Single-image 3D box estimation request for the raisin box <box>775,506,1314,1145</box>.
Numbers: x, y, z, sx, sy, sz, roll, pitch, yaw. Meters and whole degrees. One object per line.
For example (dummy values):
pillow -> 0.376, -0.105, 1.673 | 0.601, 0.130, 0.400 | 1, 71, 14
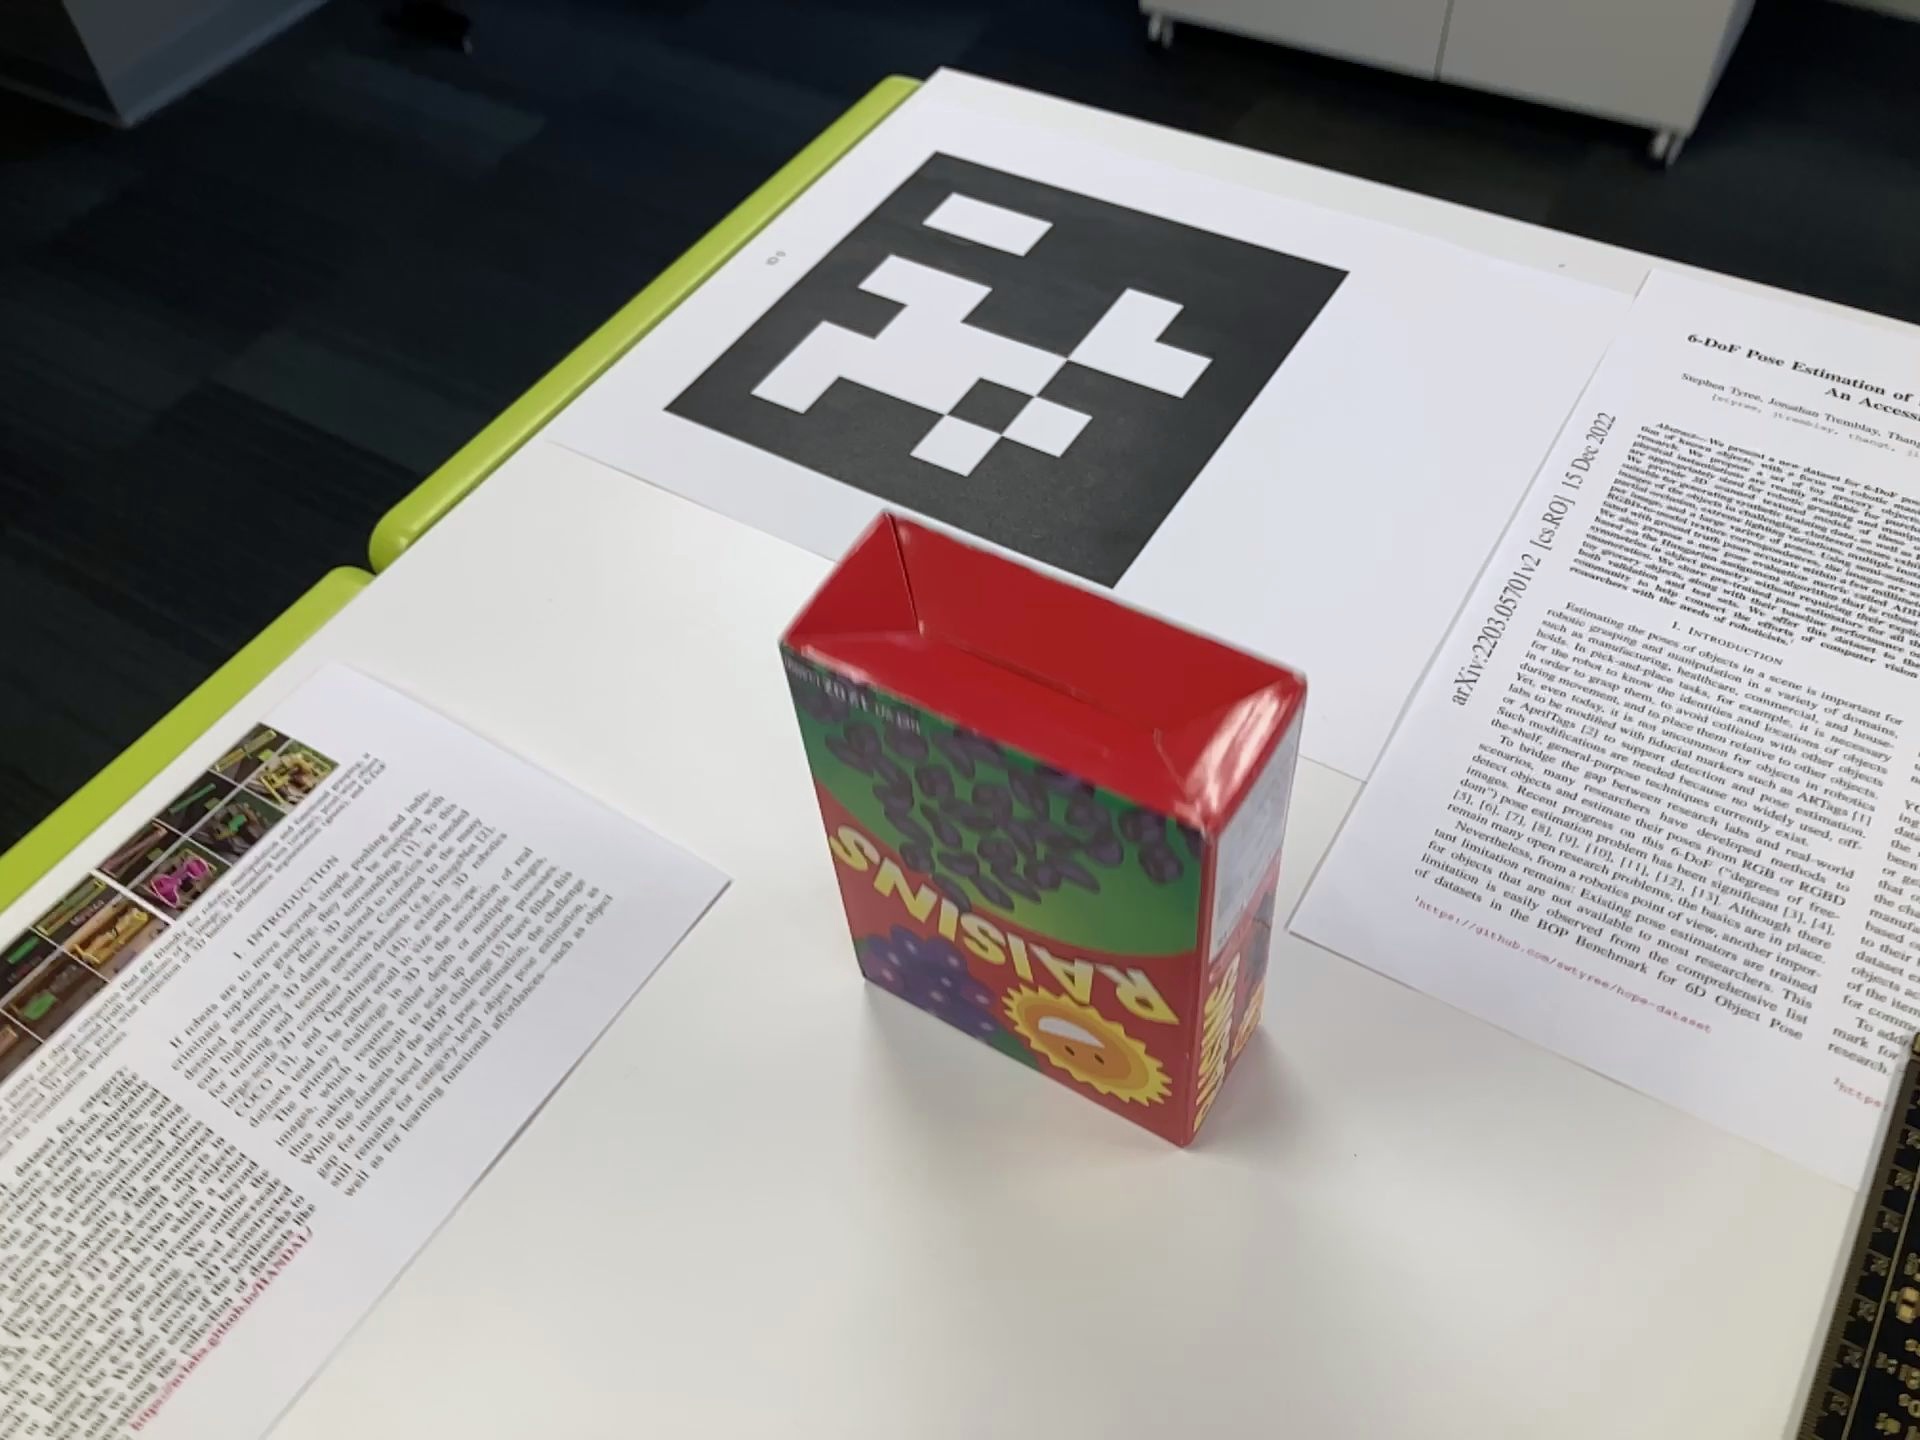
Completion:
raisin box -> 0.017, 0.026, 0.312 | 0.086, 0.123, 0.040 | 23, 58, 21
